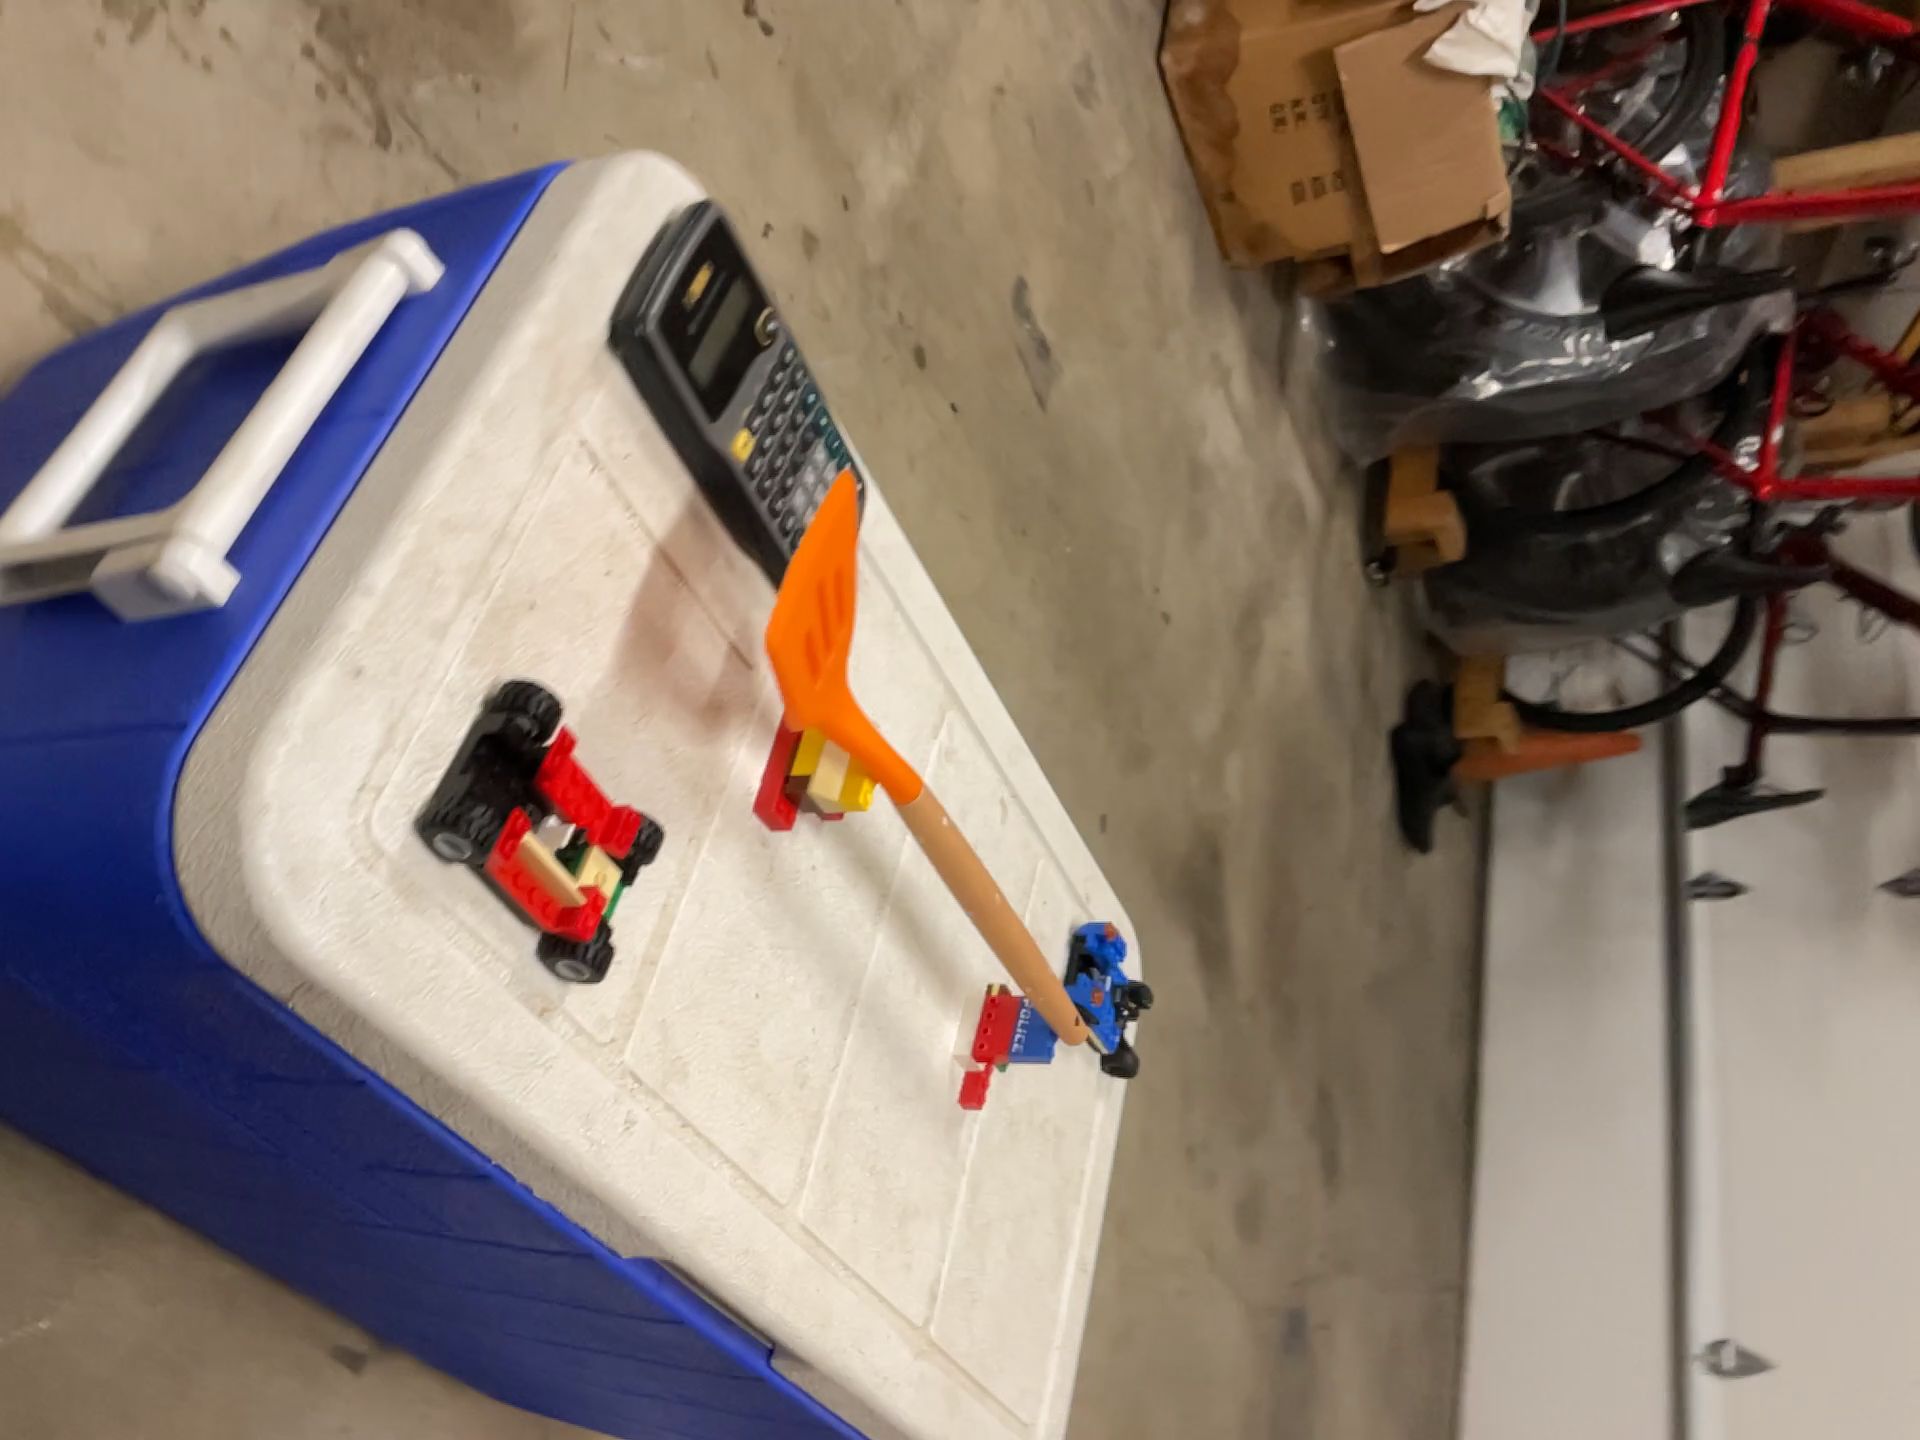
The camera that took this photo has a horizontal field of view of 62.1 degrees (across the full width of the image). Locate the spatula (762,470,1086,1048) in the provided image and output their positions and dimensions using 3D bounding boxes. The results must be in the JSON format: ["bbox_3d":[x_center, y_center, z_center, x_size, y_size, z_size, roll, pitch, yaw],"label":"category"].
[{"bbox_3d":[-0.004,0.044,0.636,0.322,0.041,0.081,58,41,-41],"label":"spatula"}]
